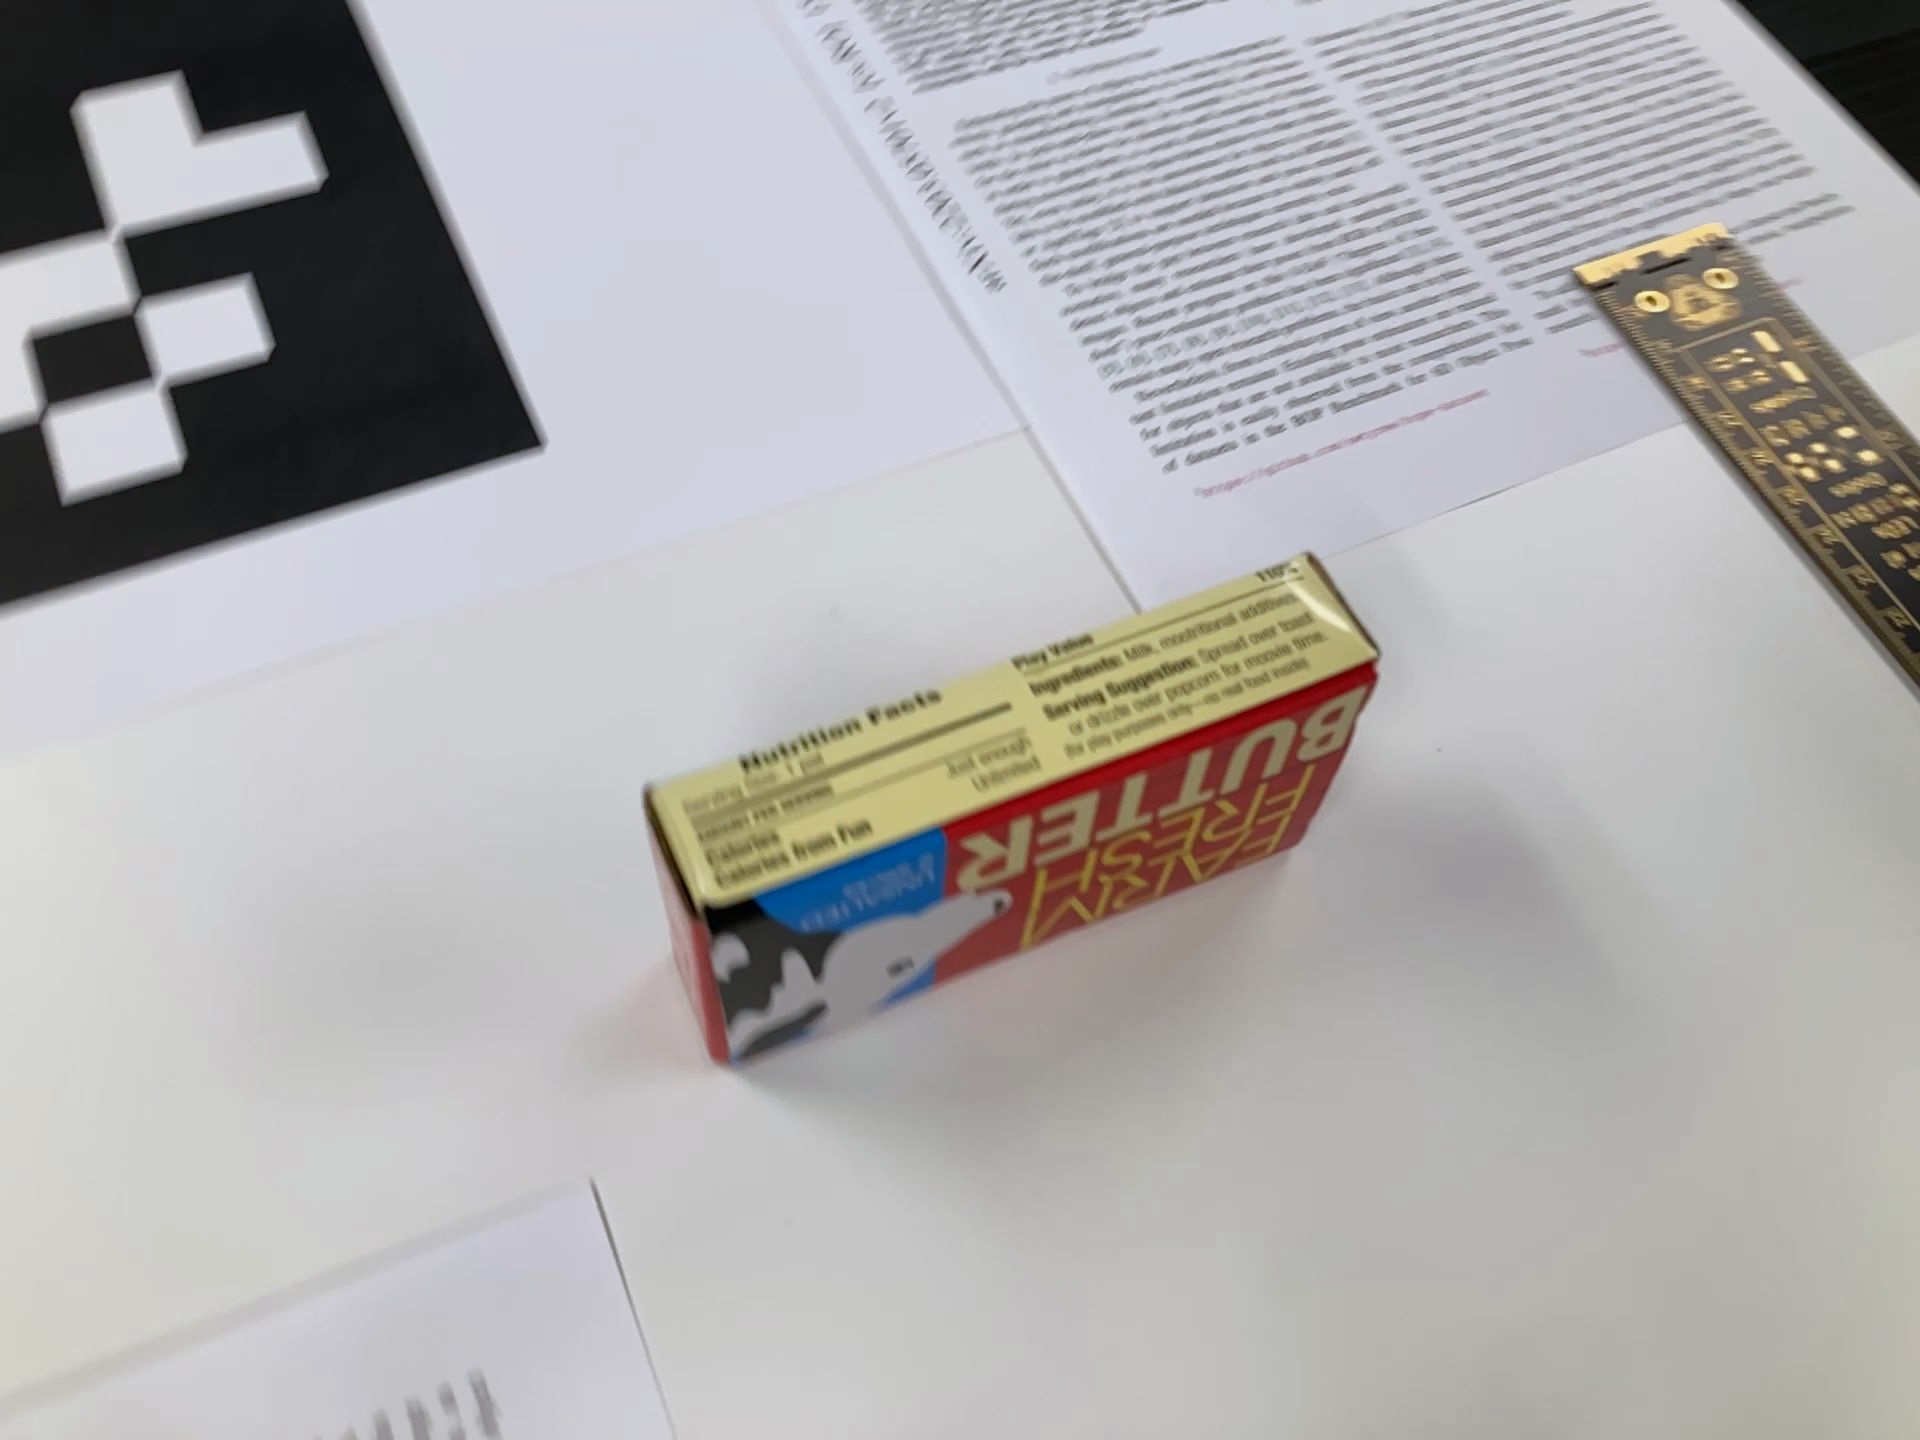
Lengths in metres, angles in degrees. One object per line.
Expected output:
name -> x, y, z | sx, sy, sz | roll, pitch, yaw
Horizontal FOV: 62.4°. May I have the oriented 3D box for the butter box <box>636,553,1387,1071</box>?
butter box -> 0.008, 0.014, 0.231 | 0.103, 0.053, 0.024 | -20, 61, -16
